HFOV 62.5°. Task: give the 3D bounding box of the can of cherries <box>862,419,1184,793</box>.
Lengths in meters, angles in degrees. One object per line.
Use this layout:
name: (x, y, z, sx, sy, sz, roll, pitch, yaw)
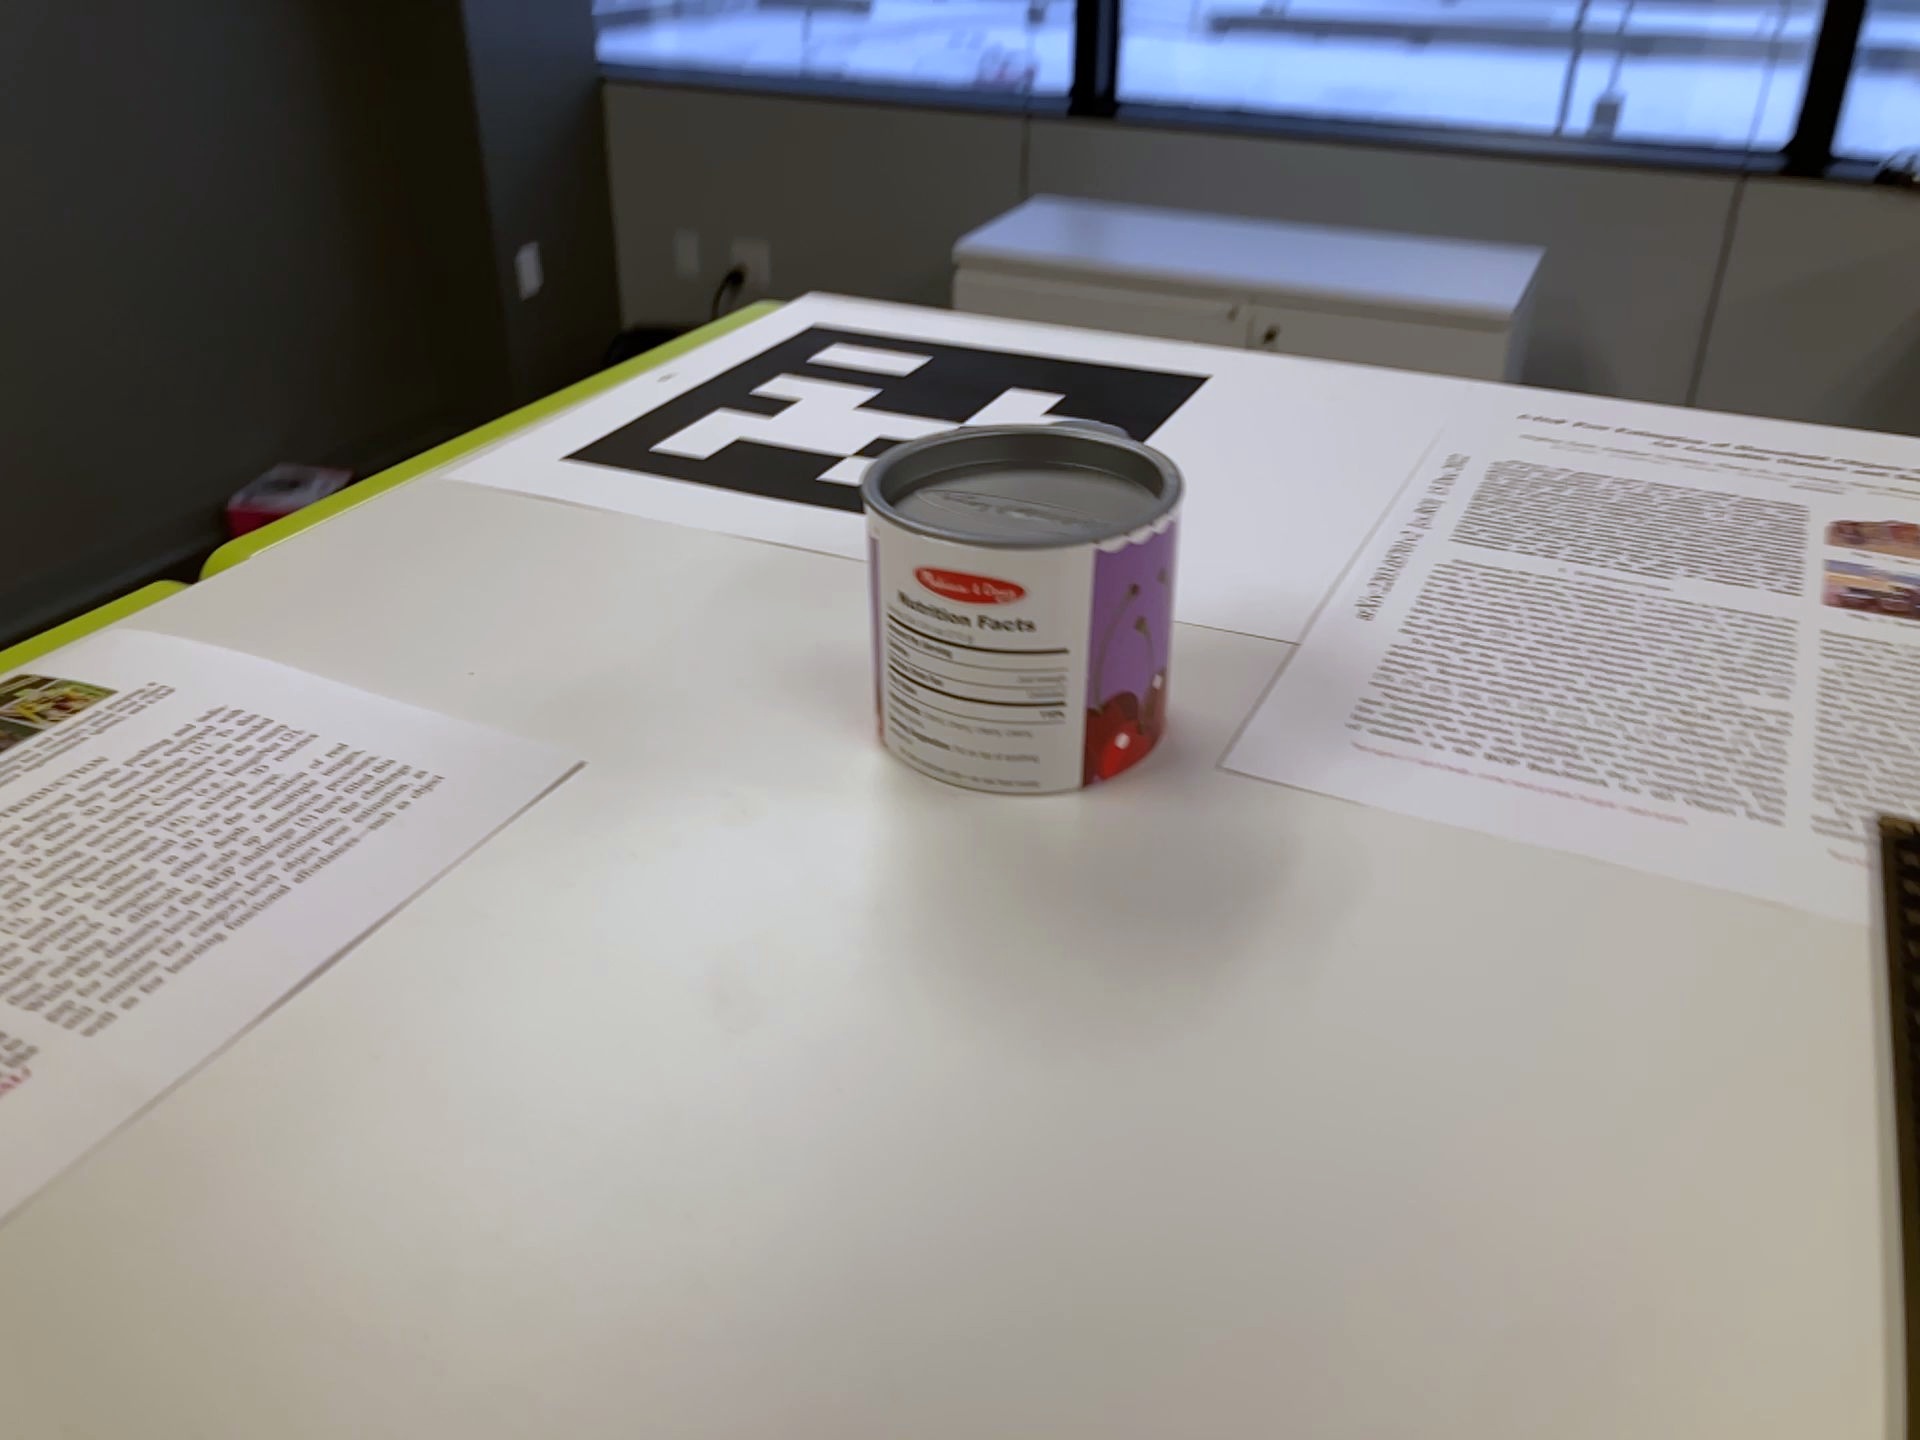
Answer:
can of cherries: (0.015, -0.027, 0.342, 0.071, 0.058, 0.071, -1, 30, 0)
